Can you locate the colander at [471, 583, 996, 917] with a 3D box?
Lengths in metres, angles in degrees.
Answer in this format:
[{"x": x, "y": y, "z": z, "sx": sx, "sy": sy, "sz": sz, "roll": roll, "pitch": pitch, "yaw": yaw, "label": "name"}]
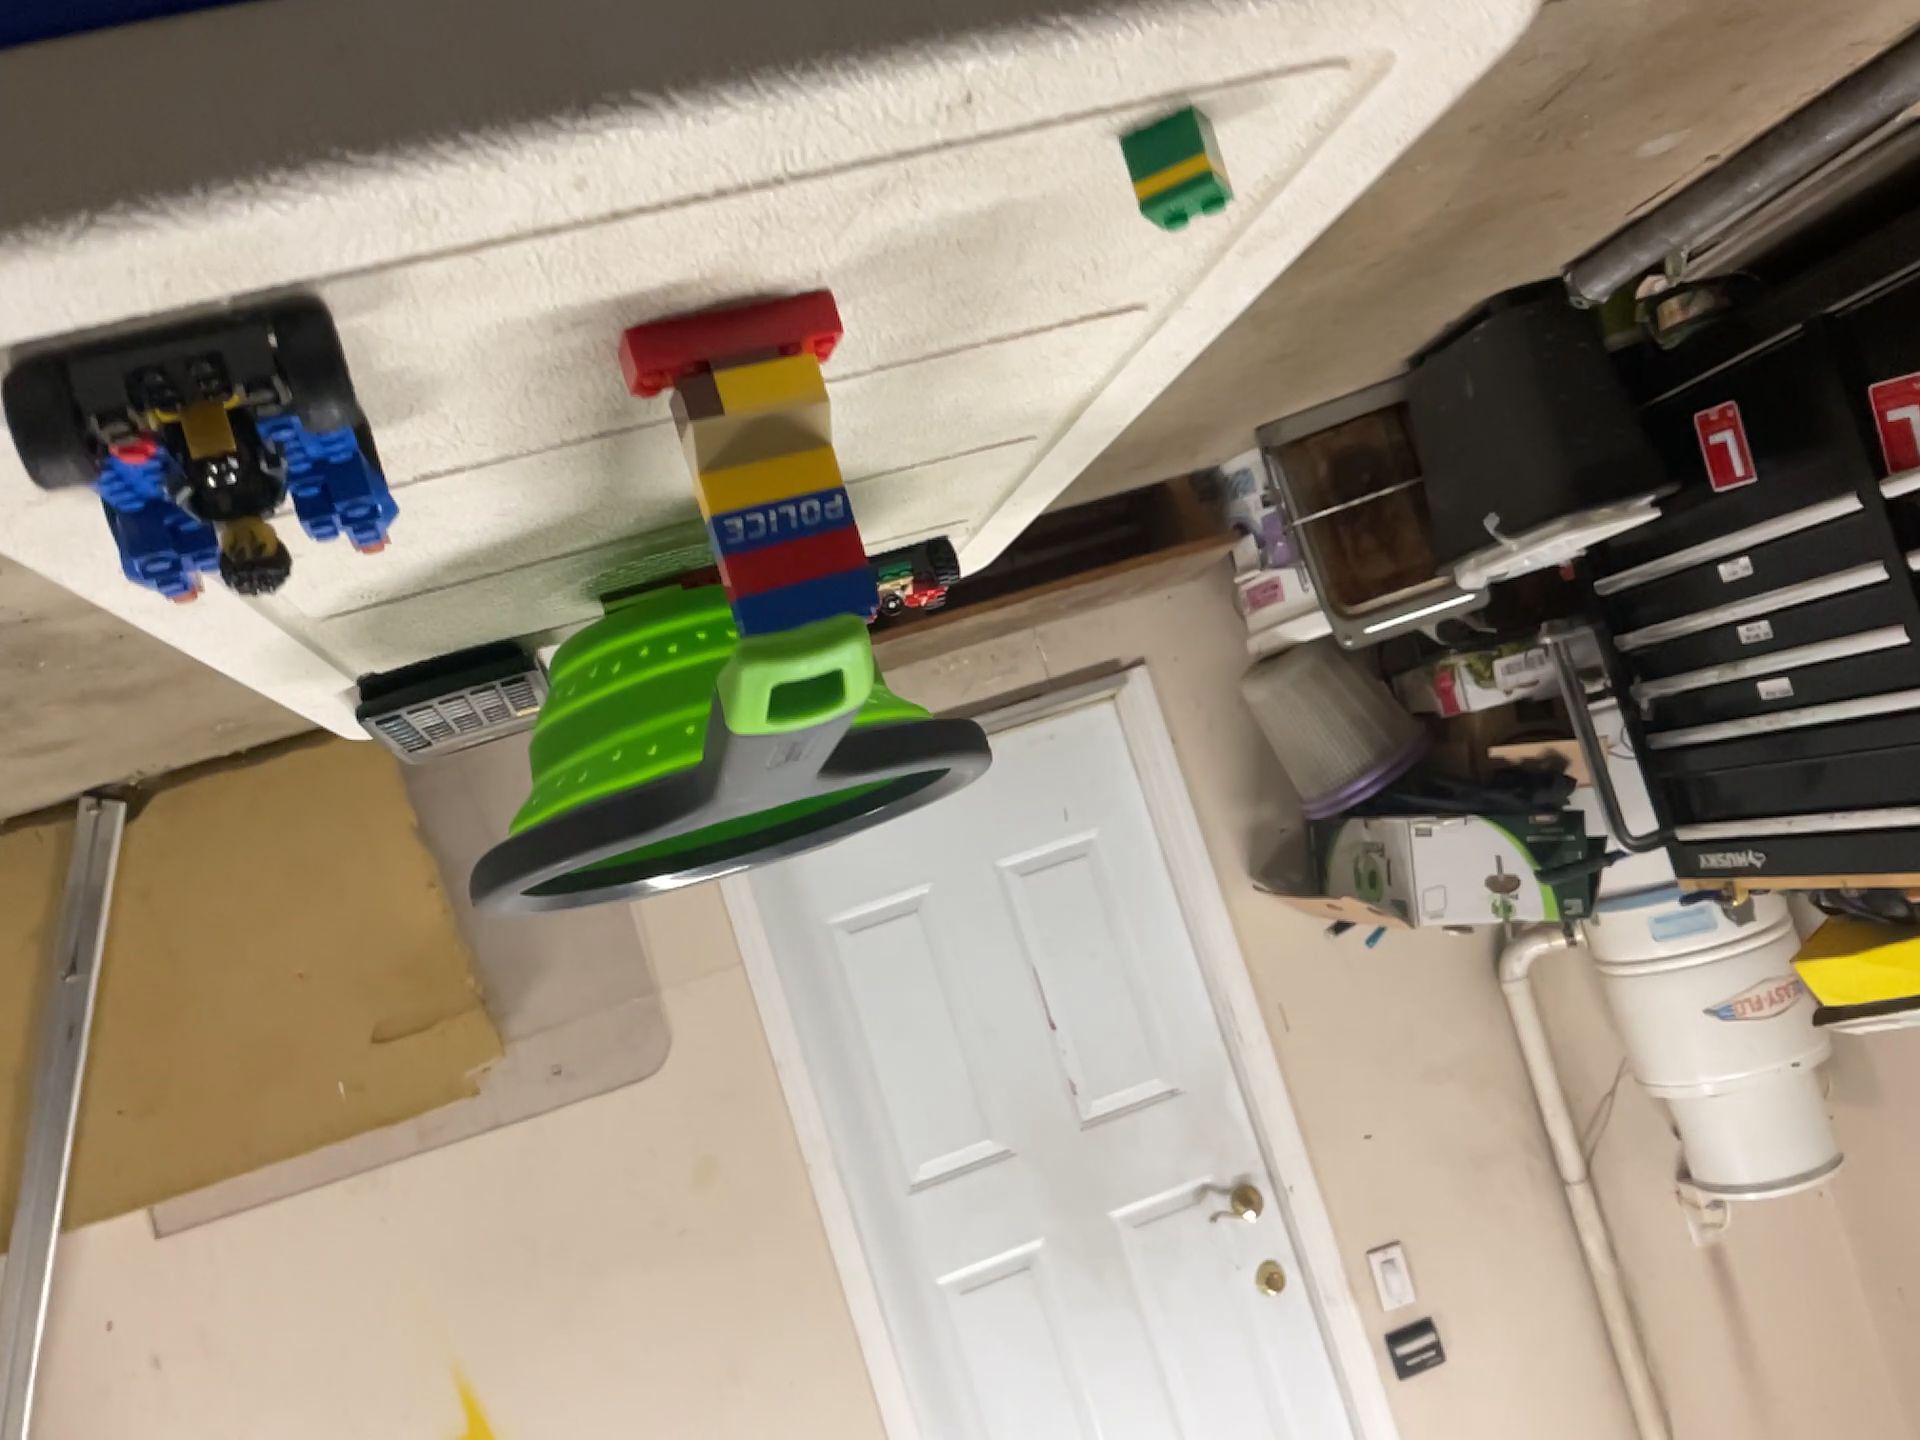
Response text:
[{"x": -0.080, "y": -0.011, "z": 0.547, "sx": 0.205, "sy": 0.094, "sz": 0.396, "roll": -14, "pitch": 172, "yaw": -14, "label": "colander"}]
